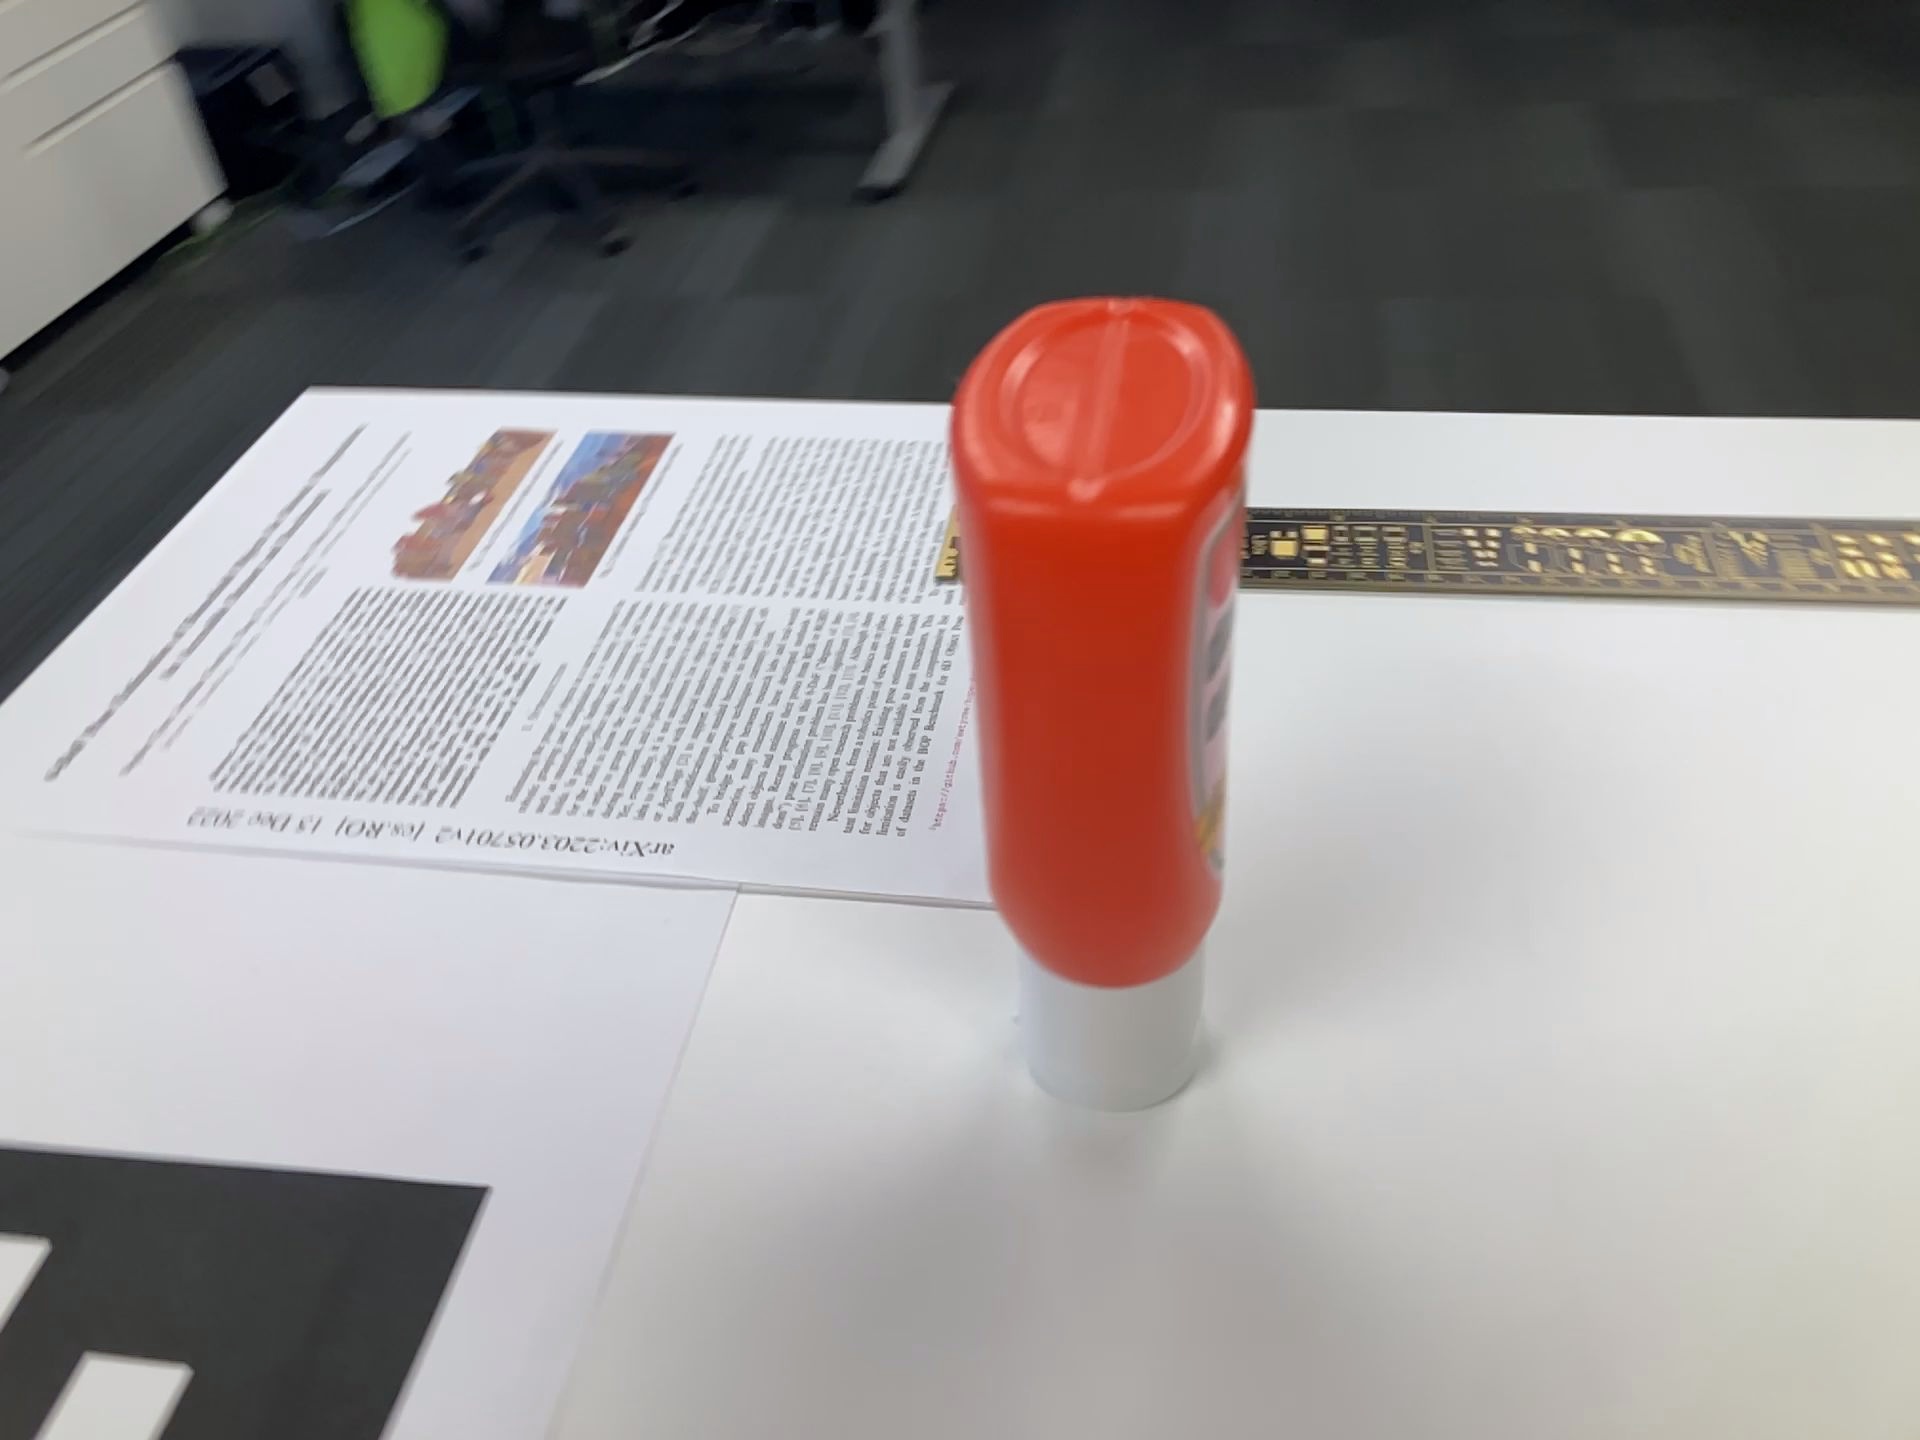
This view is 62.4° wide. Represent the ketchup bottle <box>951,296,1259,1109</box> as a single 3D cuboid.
[{"bbox_3d":[0.025,0.008,0.272,0.043,0.149,0.065,4,41,10],"label":"ketchup bottle"}]
